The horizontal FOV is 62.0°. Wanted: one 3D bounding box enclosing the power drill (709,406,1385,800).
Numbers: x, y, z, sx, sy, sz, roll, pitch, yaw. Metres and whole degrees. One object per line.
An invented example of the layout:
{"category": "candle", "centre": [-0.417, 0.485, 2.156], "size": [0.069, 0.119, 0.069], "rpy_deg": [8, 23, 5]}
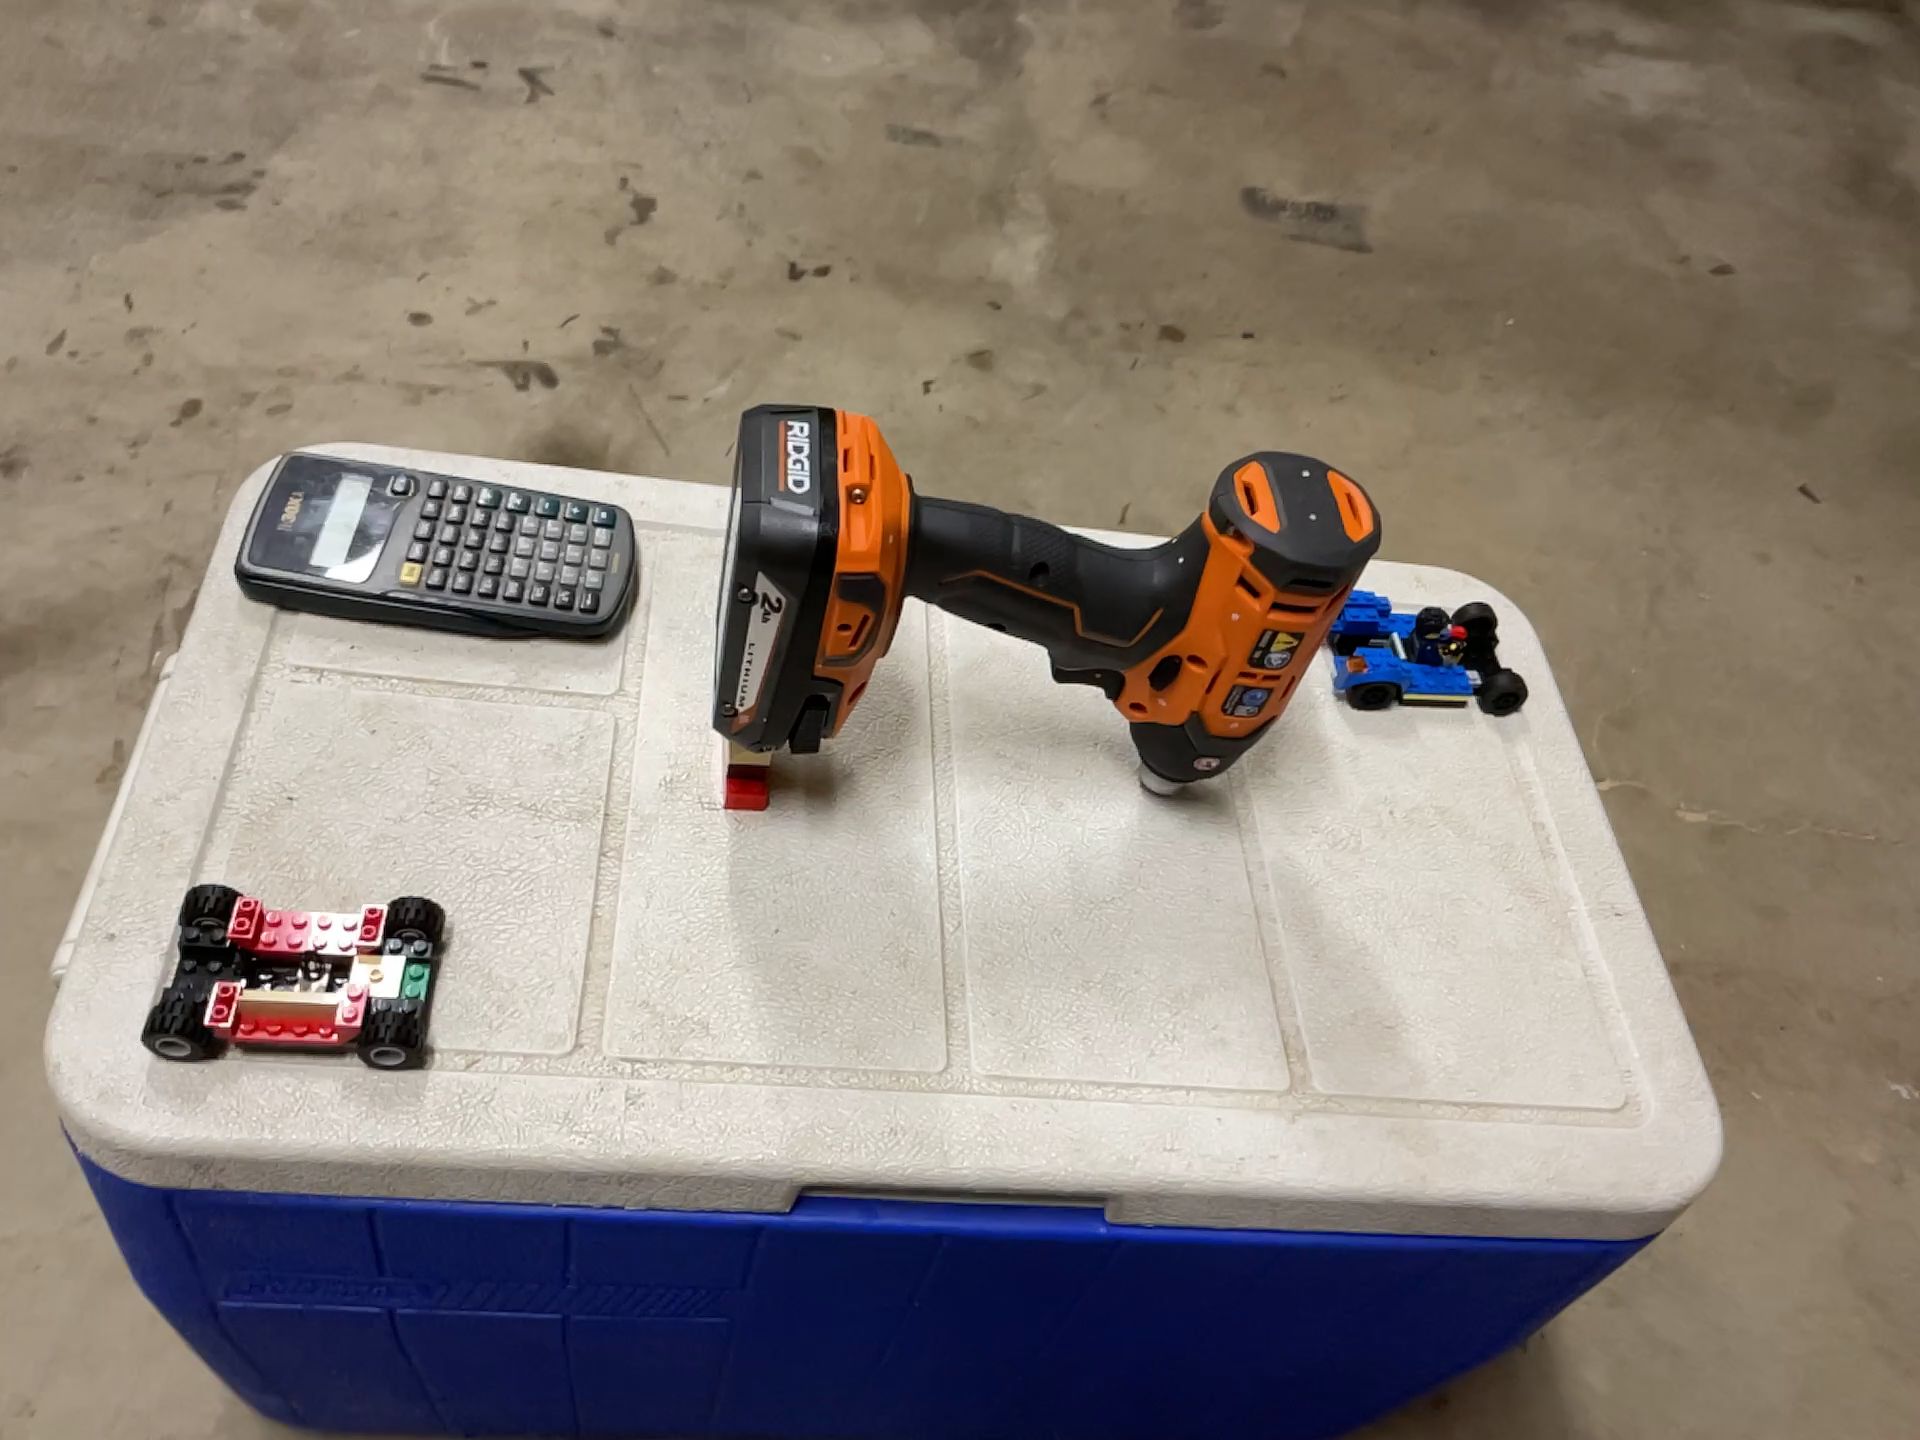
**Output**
{"category": "power drill", "centre": [0.024, -0.032, 0.598], "size": [0.226, 0.164, 0.084], "rpy_deg": [5, 48, -12]}
